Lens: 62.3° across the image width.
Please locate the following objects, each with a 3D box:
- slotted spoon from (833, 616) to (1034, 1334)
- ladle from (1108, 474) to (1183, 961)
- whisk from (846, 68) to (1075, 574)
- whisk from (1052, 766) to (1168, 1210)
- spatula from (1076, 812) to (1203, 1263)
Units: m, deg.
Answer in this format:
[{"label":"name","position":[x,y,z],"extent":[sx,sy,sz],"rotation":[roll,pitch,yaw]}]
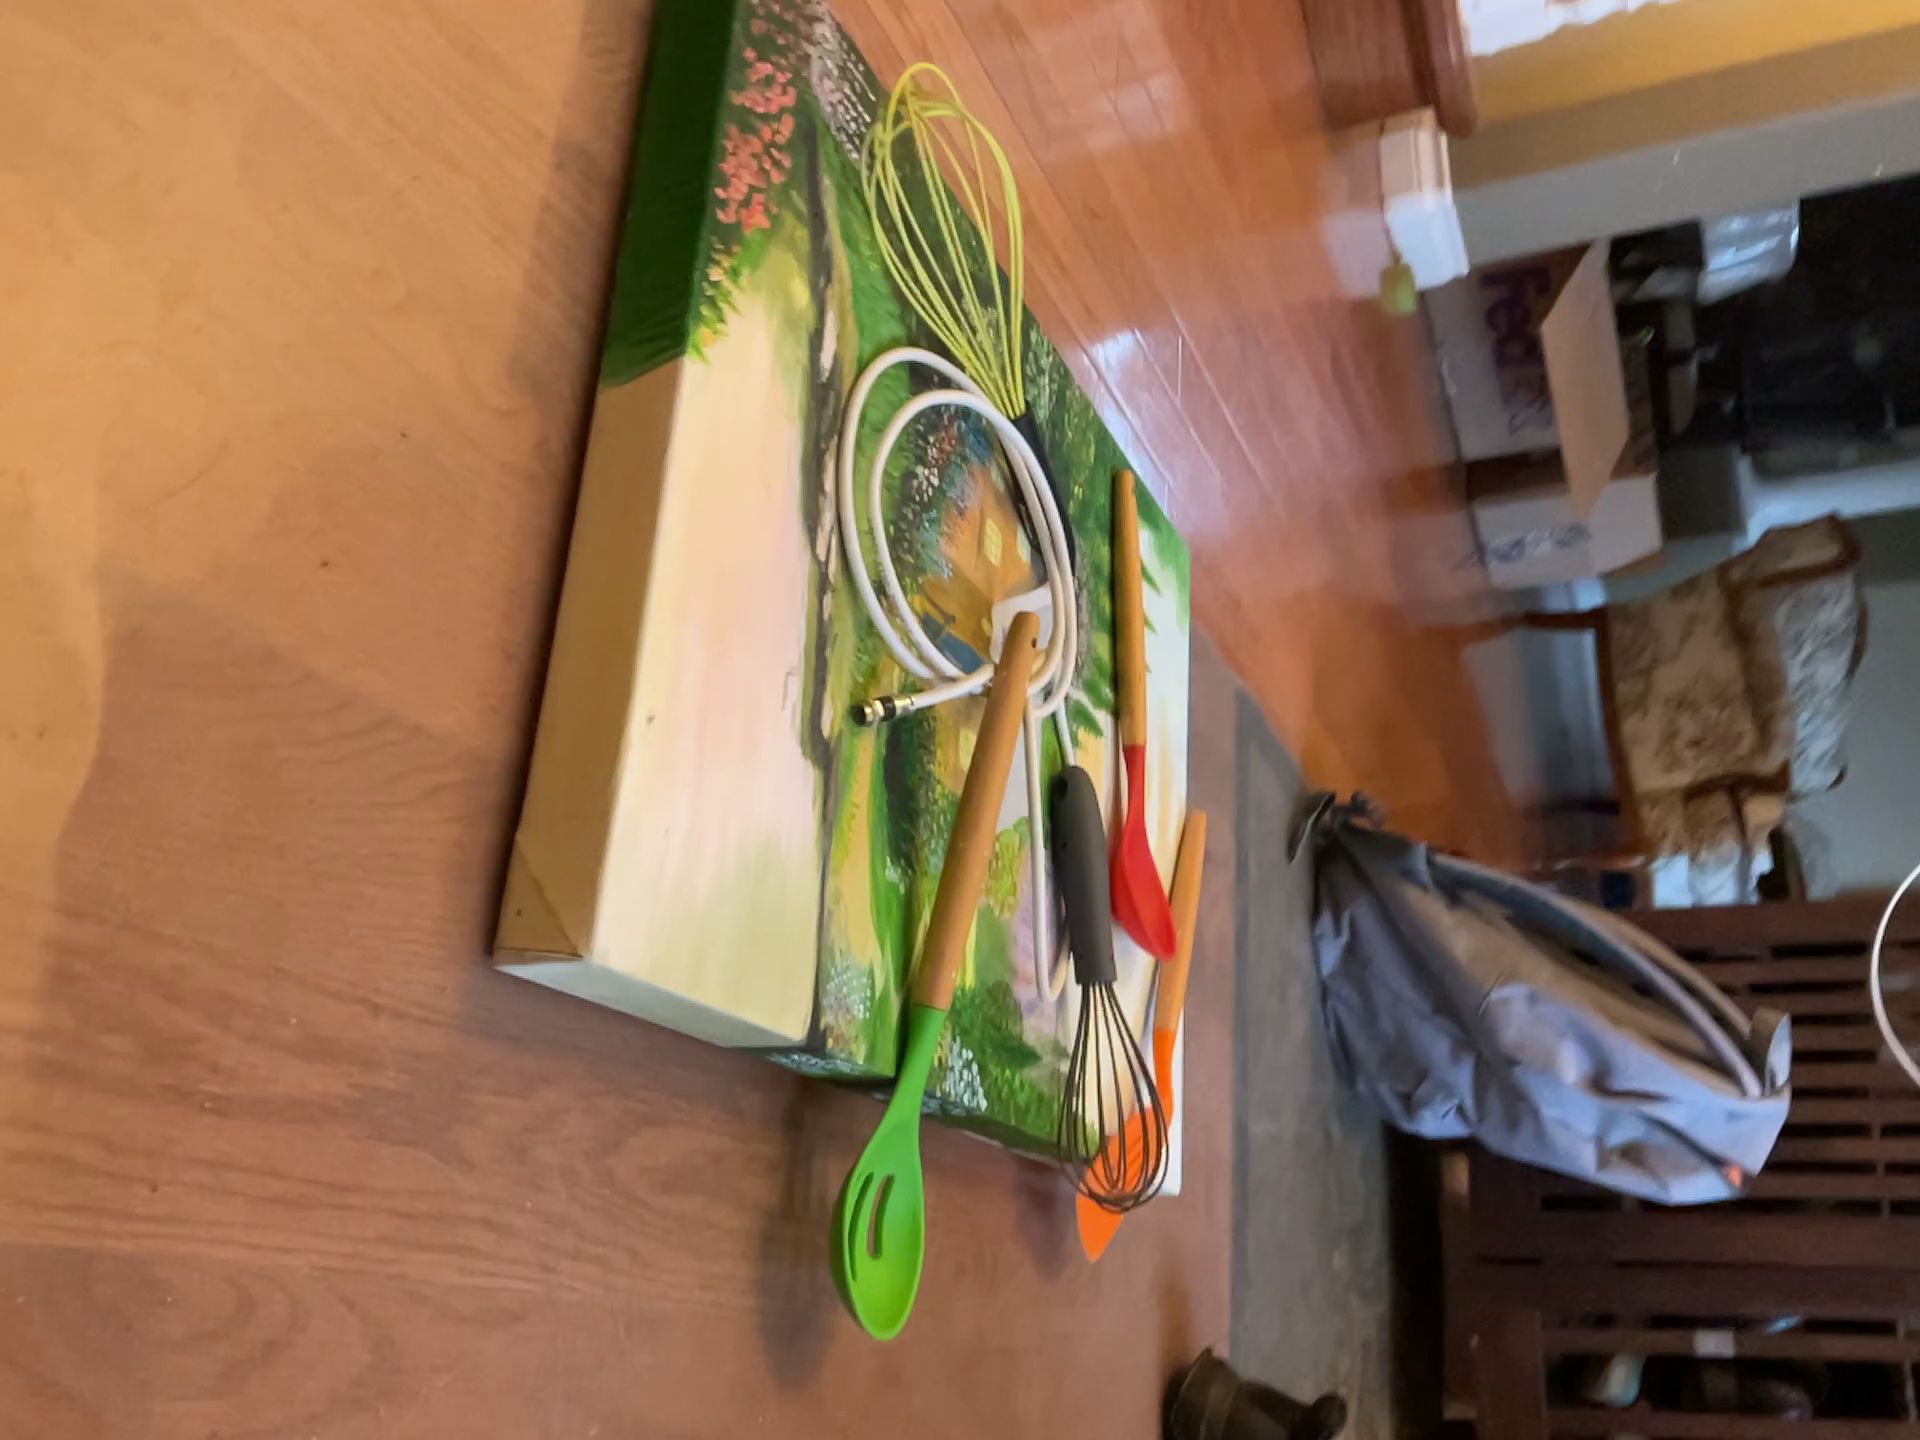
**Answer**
[{"label":"slotted spoon","position":[-0.007,0.102,0.695],"extent":[0.070,0.031,0.314],"rotation":[37,63,-57]},{"label":"ladle","position":[0.109,-0.007,0.991],"extent":[0.069,0.031,0.316],"rotation":[29,55,-62]},{"label":"whisk","position":[0.014,-0.181,0.806],"extent":[0.311,0.067,0.080],"rotation":[65,35,-46]},{"label":"whisk","position":[0.074,0.139,0.856],"extent":[0.055,0.055,0.239],"rotation":[45,37,-68]},{"label":"spatula","position":[0.120,0.177,0.990],"extent":[0.323,0.041,0.080],"rotation":[-73,157,-45]}]
